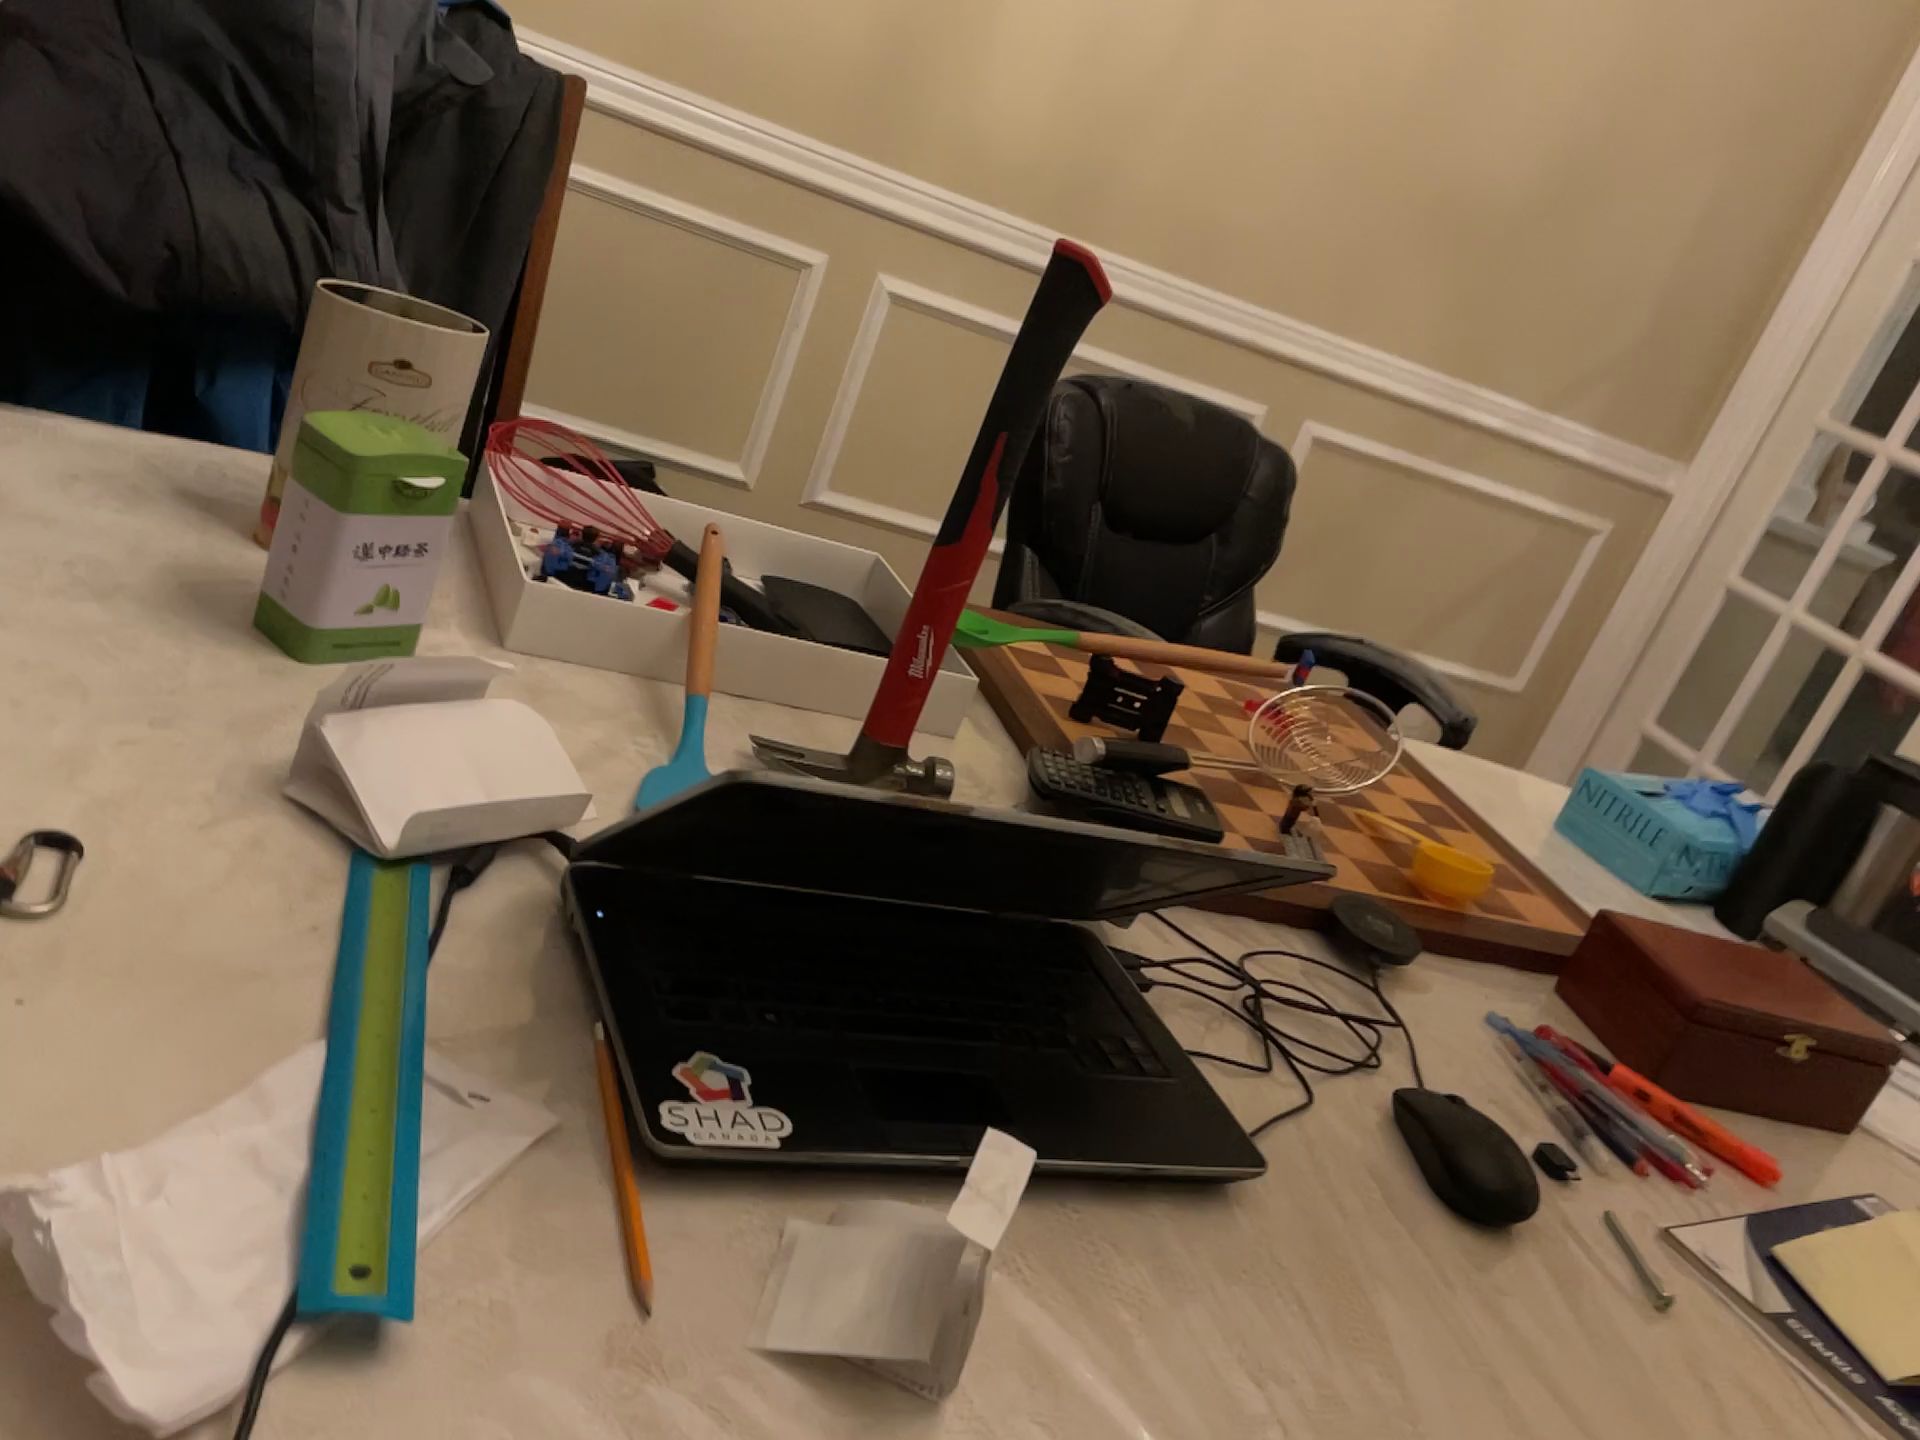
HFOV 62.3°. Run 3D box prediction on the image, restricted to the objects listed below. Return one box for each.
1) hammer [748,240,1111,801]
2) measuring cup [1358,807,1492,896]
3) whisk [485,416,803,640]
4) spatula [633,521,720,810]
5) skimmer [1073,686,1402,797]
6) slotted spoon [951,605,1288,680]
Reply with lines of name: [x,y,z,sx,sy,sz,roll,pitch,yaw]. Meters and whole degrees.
hammer: [-0.012,-0.121,1.018,0.143,0.386,0.038,14,22,-21]
measuring cup: [0.371,0.107,1.303,0.062,0.029,0.157,9,11,-23]
whisk: [-0.249,-0.145,1.266,0.296,0.073,0.073,35,38,-5]
spatula: [-0.170,-0.037,1.060,0.082,0.044,0.318,14,43,-18]
skimmer: [0.224,0.010,1.274,0.362,0.090,0.128,6,27,-47]
slotted spoon: [0.122,-0.061,1.309,0.313,0.031,0.070,8,21,-11]
